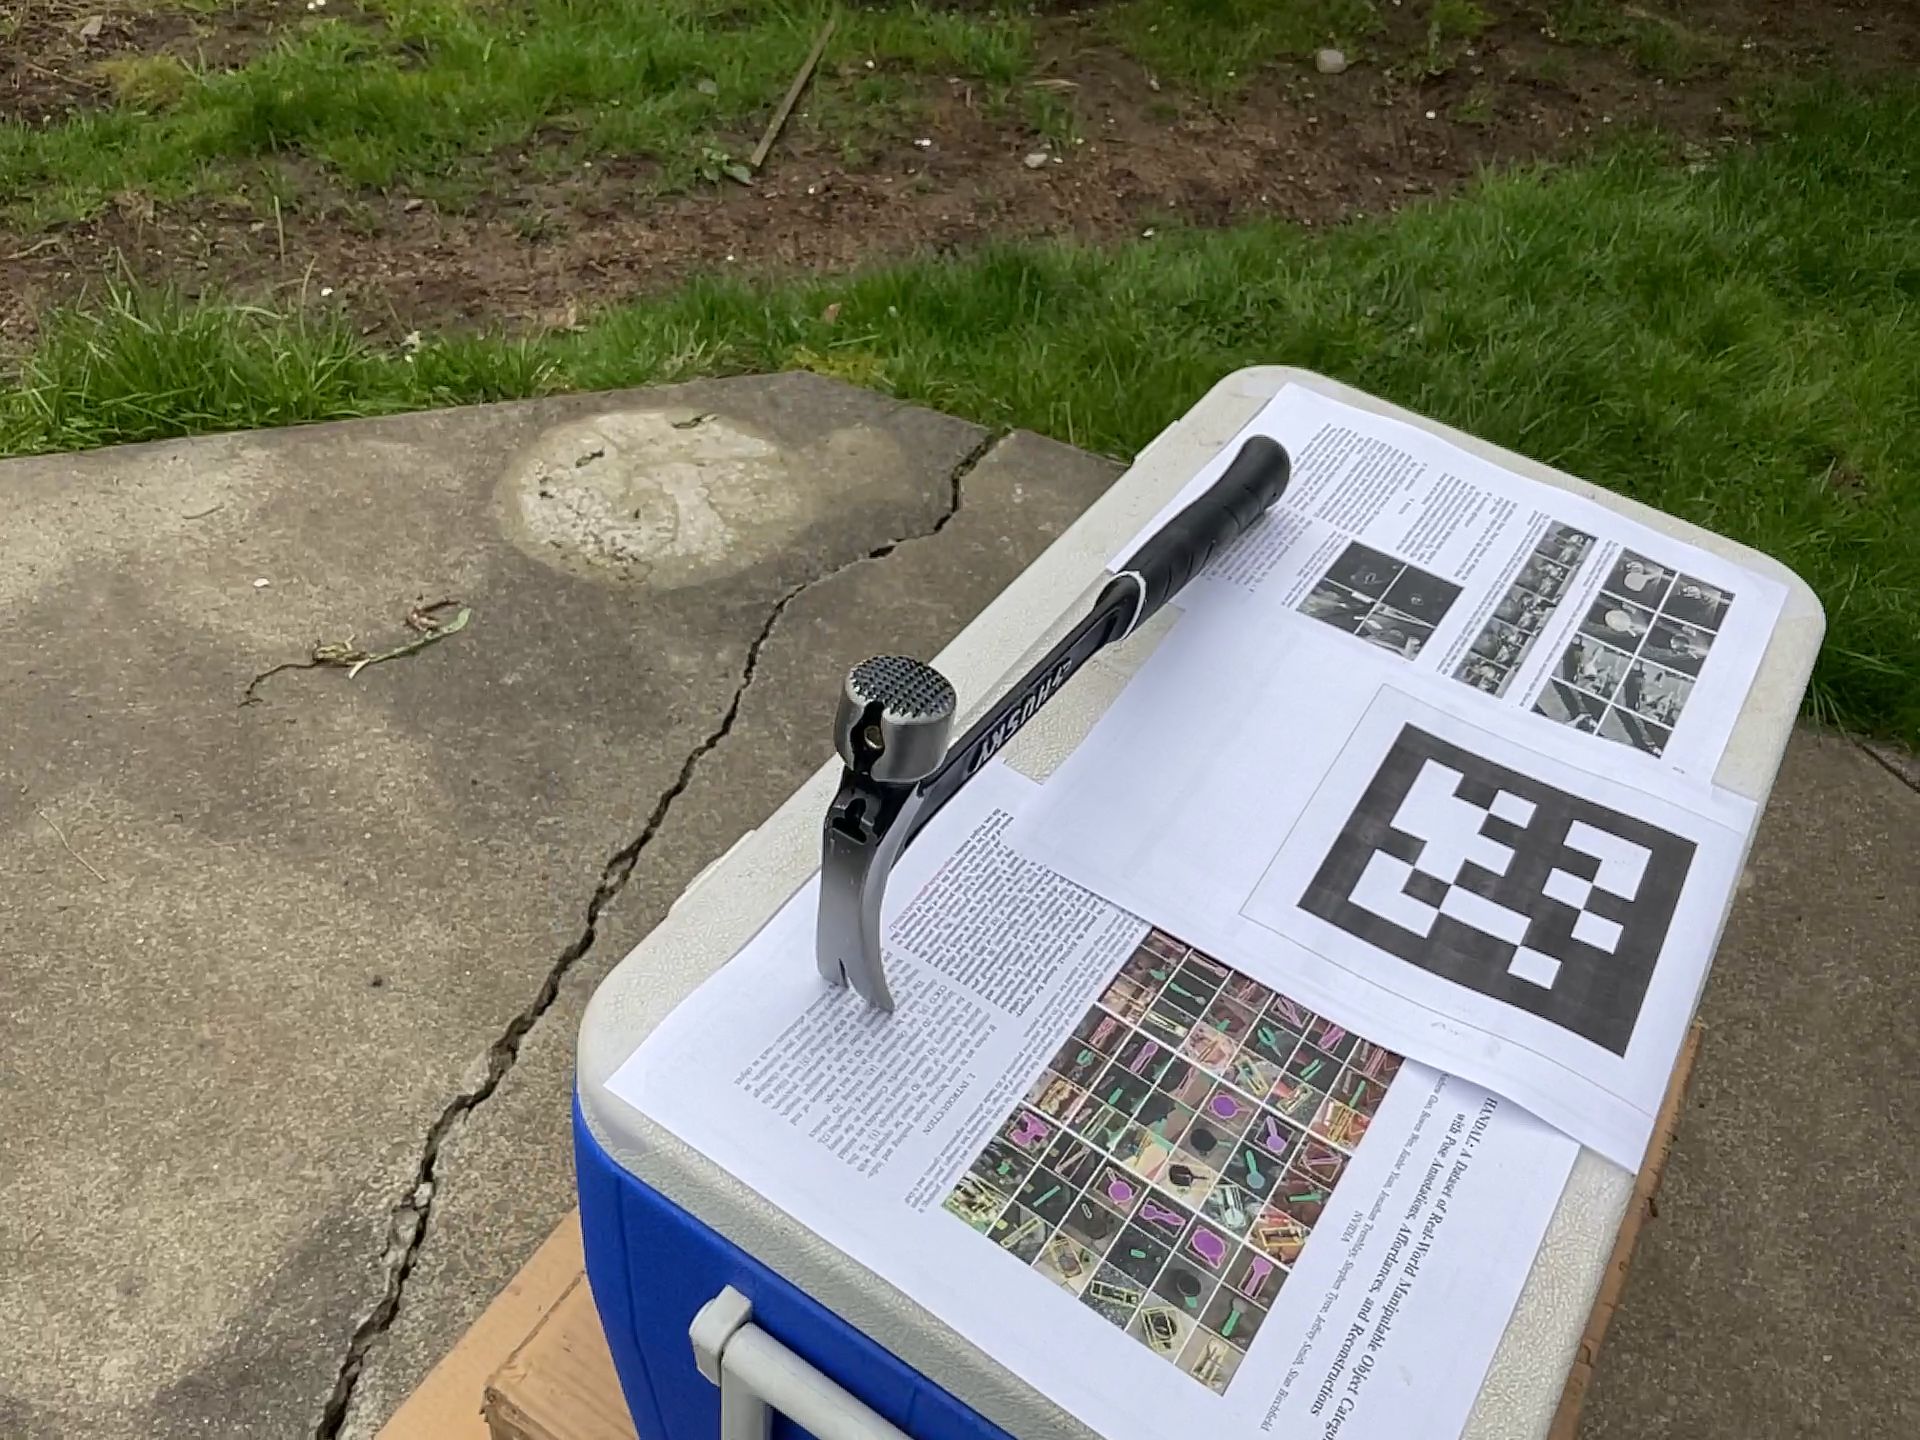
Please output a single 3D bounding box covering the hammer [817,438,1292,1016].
[{"bbox_3d":[0.059,-0.033,0.665,0.036,0.149,0.409,26,37,18],"label":"hammer"}]
